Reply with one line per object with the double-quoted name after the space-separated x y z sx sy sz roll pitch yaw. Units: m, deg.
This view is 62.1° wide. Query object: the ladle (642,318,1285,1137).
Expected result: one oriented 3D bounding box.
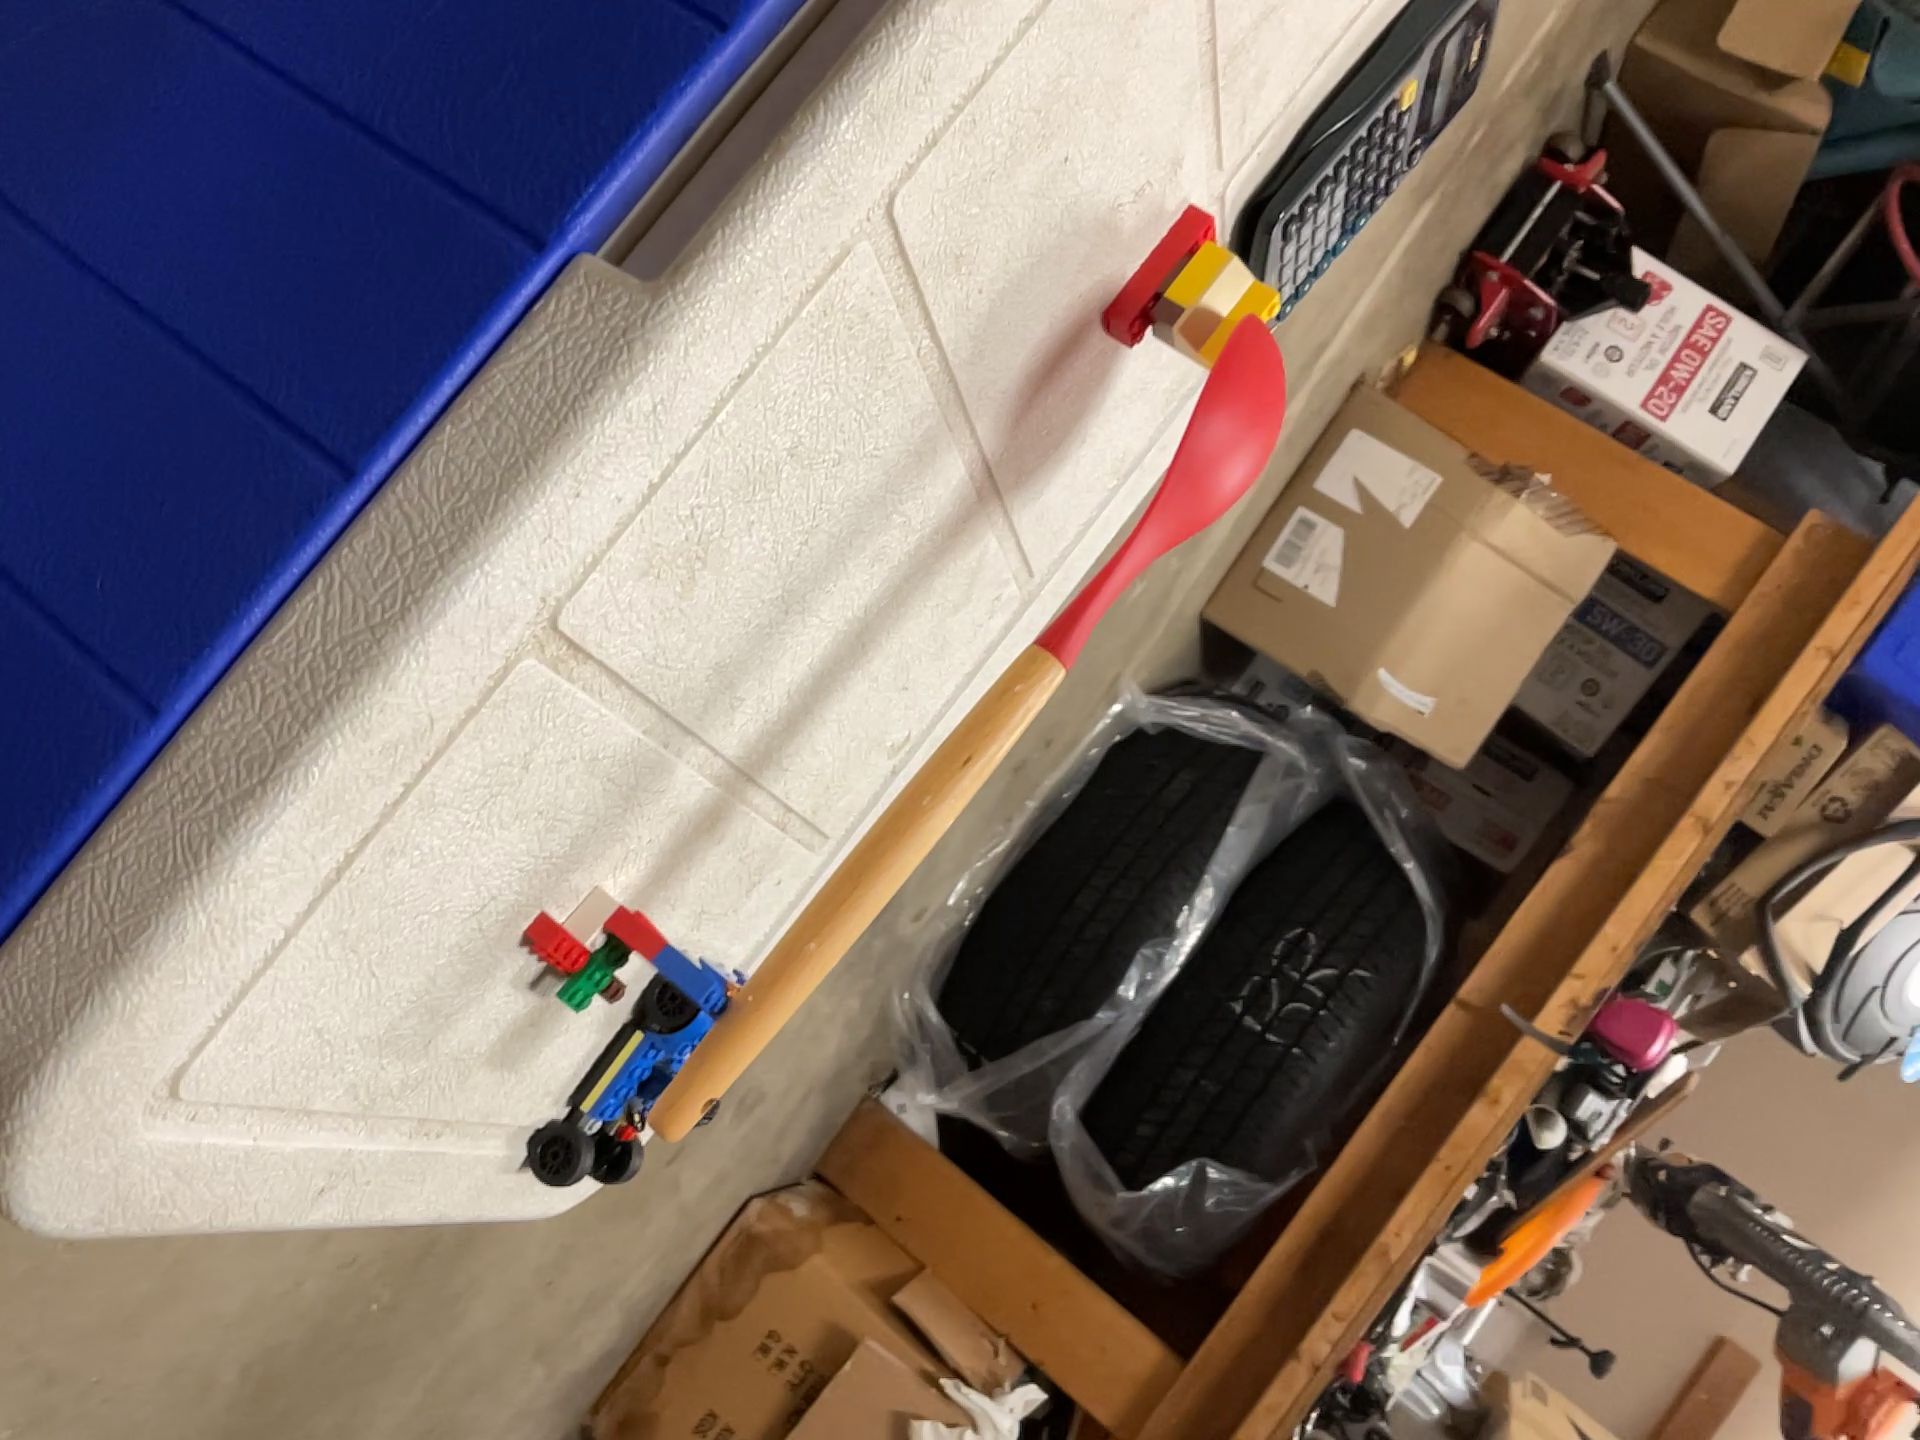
0.010 -0.001 0.494 0.315 0.031 0.069 -50 162 -12 "ladle"
